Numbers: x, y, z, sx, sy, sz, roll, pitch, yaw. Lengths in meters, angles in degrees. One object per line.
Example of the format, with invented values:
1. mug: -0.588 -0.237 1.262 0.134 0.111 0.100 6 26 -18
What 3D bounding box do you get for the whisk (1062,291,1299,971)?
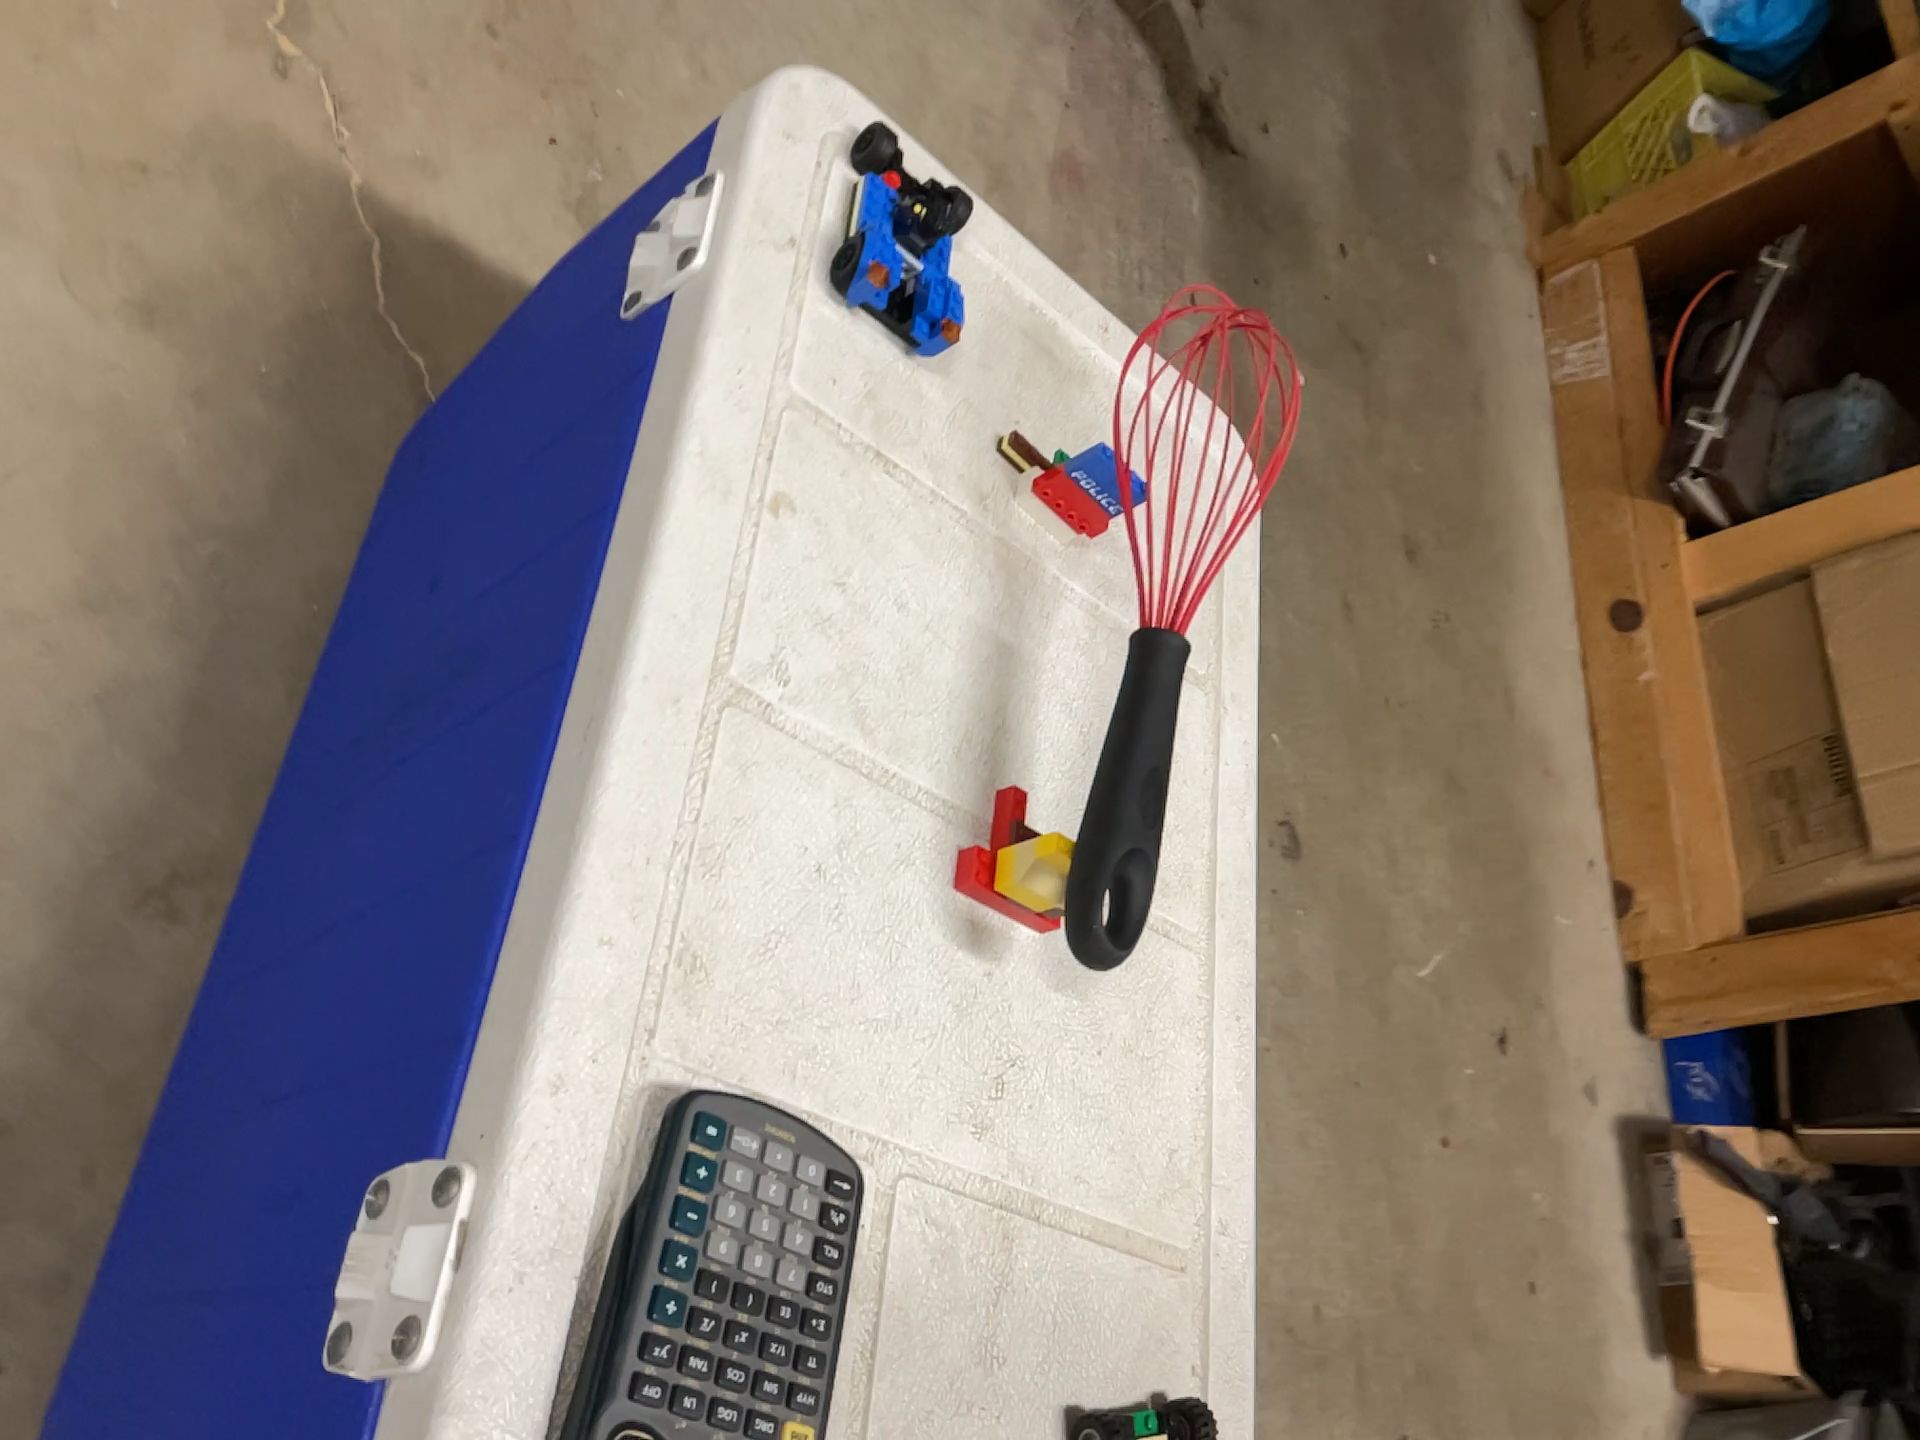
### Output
1. whisk: 0.080 -0.045 0.609 0.073 0.073 0.296 35 59 -37
